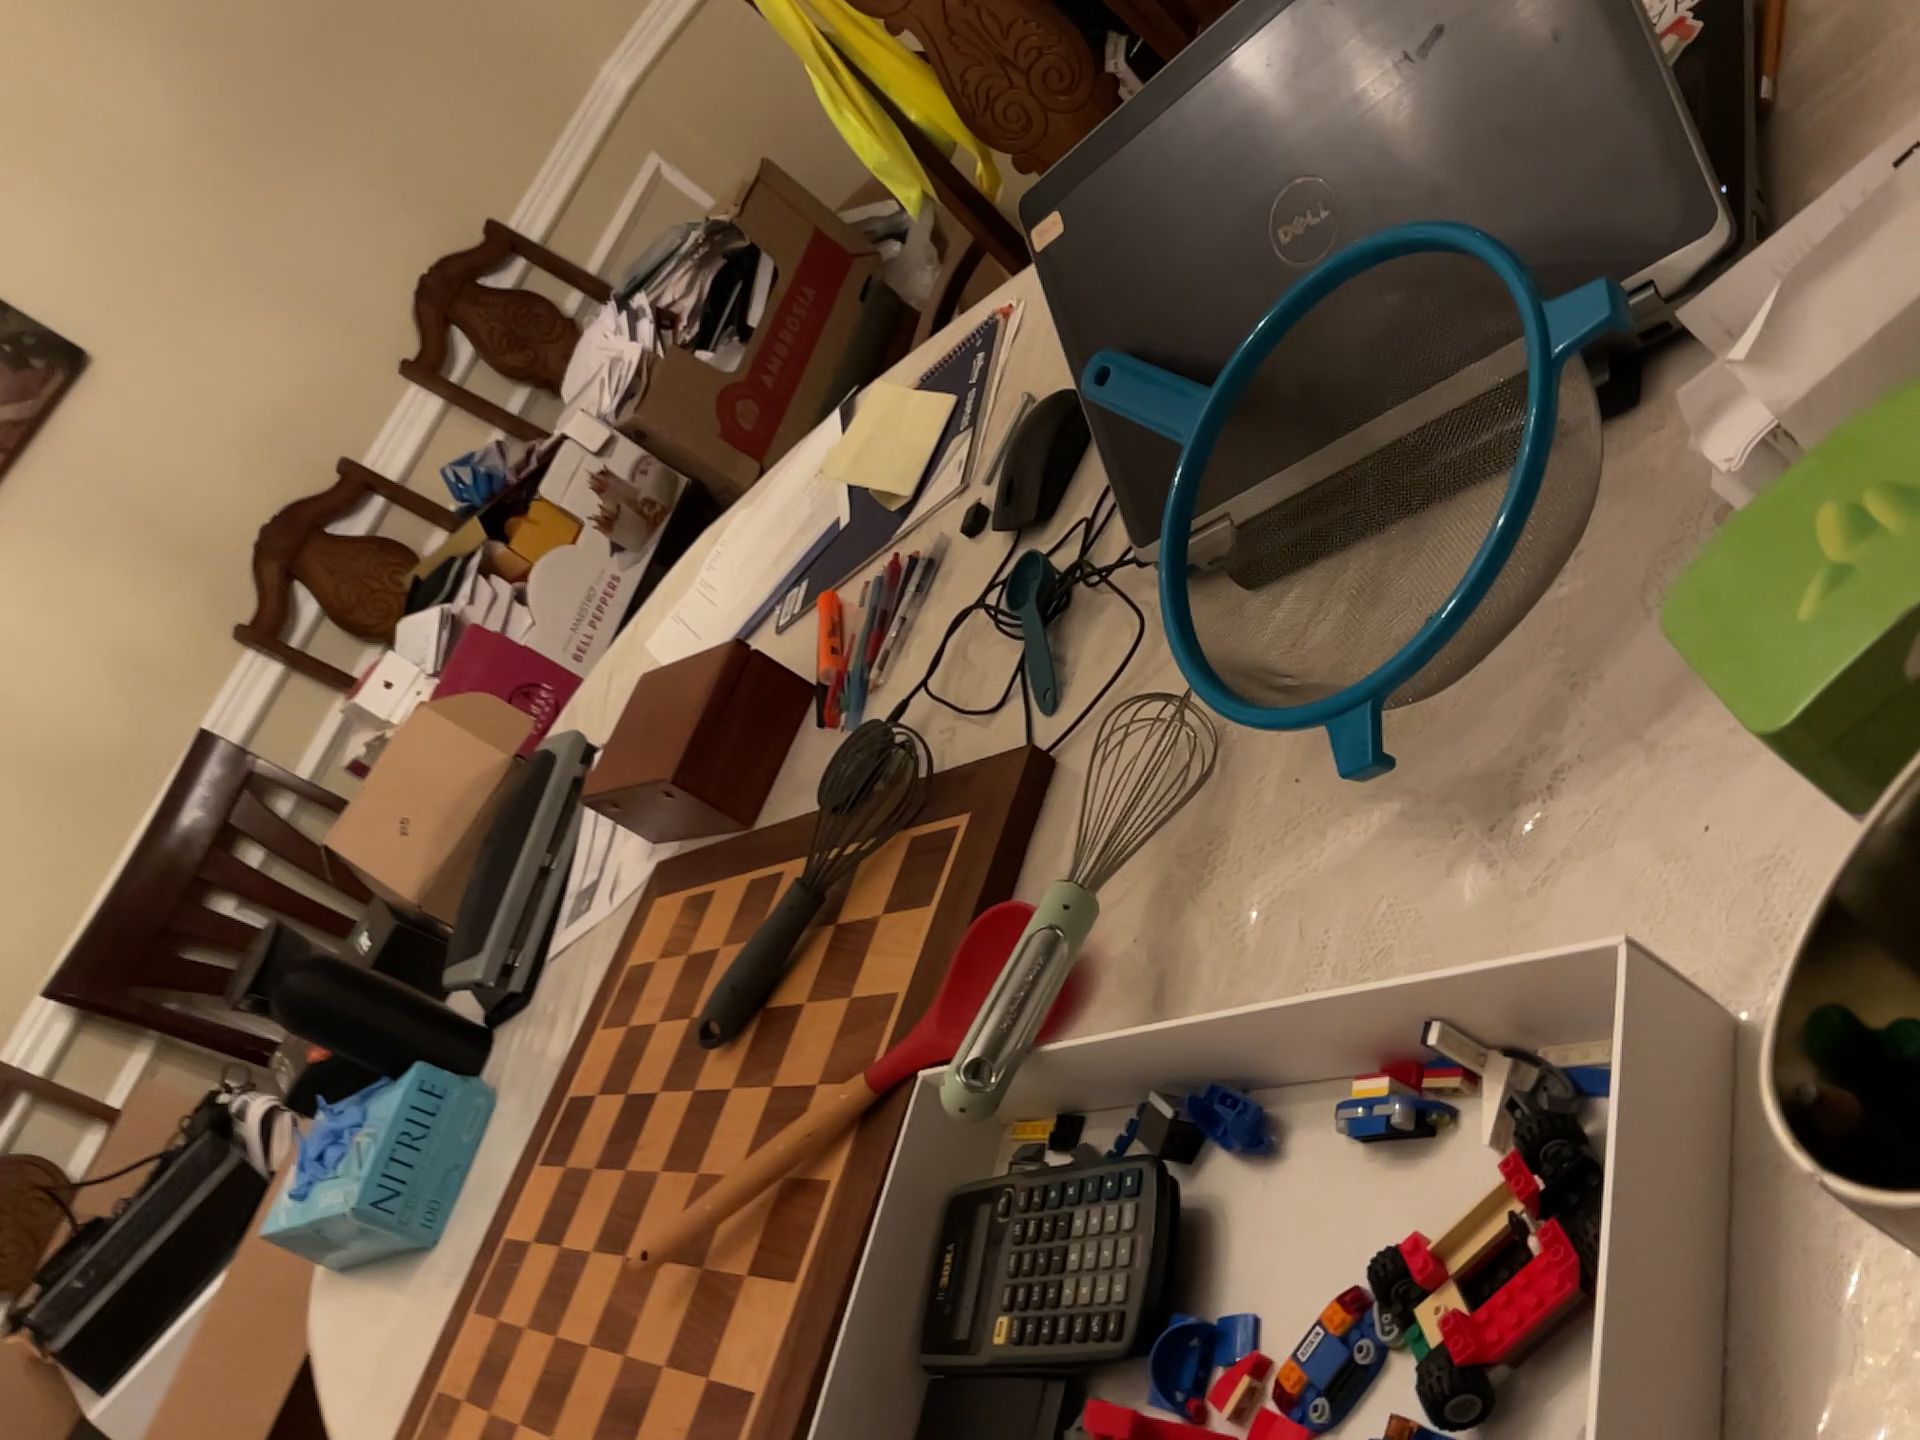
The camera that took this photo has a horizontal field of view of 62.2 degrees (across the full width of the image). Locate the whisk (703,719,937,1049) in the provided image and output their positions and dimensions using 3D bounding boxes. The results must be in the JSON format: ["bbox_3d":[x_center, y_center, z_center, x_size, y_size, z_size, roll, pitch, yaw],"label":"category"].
[{"bbox_3d":[-0.088,0.101,0.954,0.239,0.055,0.055,-57,10,11],"label":"whisk"}]

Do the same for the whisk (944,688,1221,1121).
[{"bbox_3d":[0.056,0.072,0.701,0.246,0.058,0.059,-57,-10,-35],"label":"whisk"}]

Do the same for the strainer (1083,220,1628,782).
[{"bbox_3d":[0.159,-0.111,0.707,0.211,0.095,0.341,-65,27,13],"label":"strainer"}]

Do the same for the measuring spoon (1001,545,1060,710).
[{"bbox_3d":[0.051,-0.052,0.948,0.042,0.021,0.129,-49,36,36],"label":"measuring spoon"}]

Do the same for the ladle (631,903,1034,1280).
[{"bbox_3d":[-0.064,0.199,0.802,0.315,0.031,0.069,-42,50,20],"label":"ladle"}]
